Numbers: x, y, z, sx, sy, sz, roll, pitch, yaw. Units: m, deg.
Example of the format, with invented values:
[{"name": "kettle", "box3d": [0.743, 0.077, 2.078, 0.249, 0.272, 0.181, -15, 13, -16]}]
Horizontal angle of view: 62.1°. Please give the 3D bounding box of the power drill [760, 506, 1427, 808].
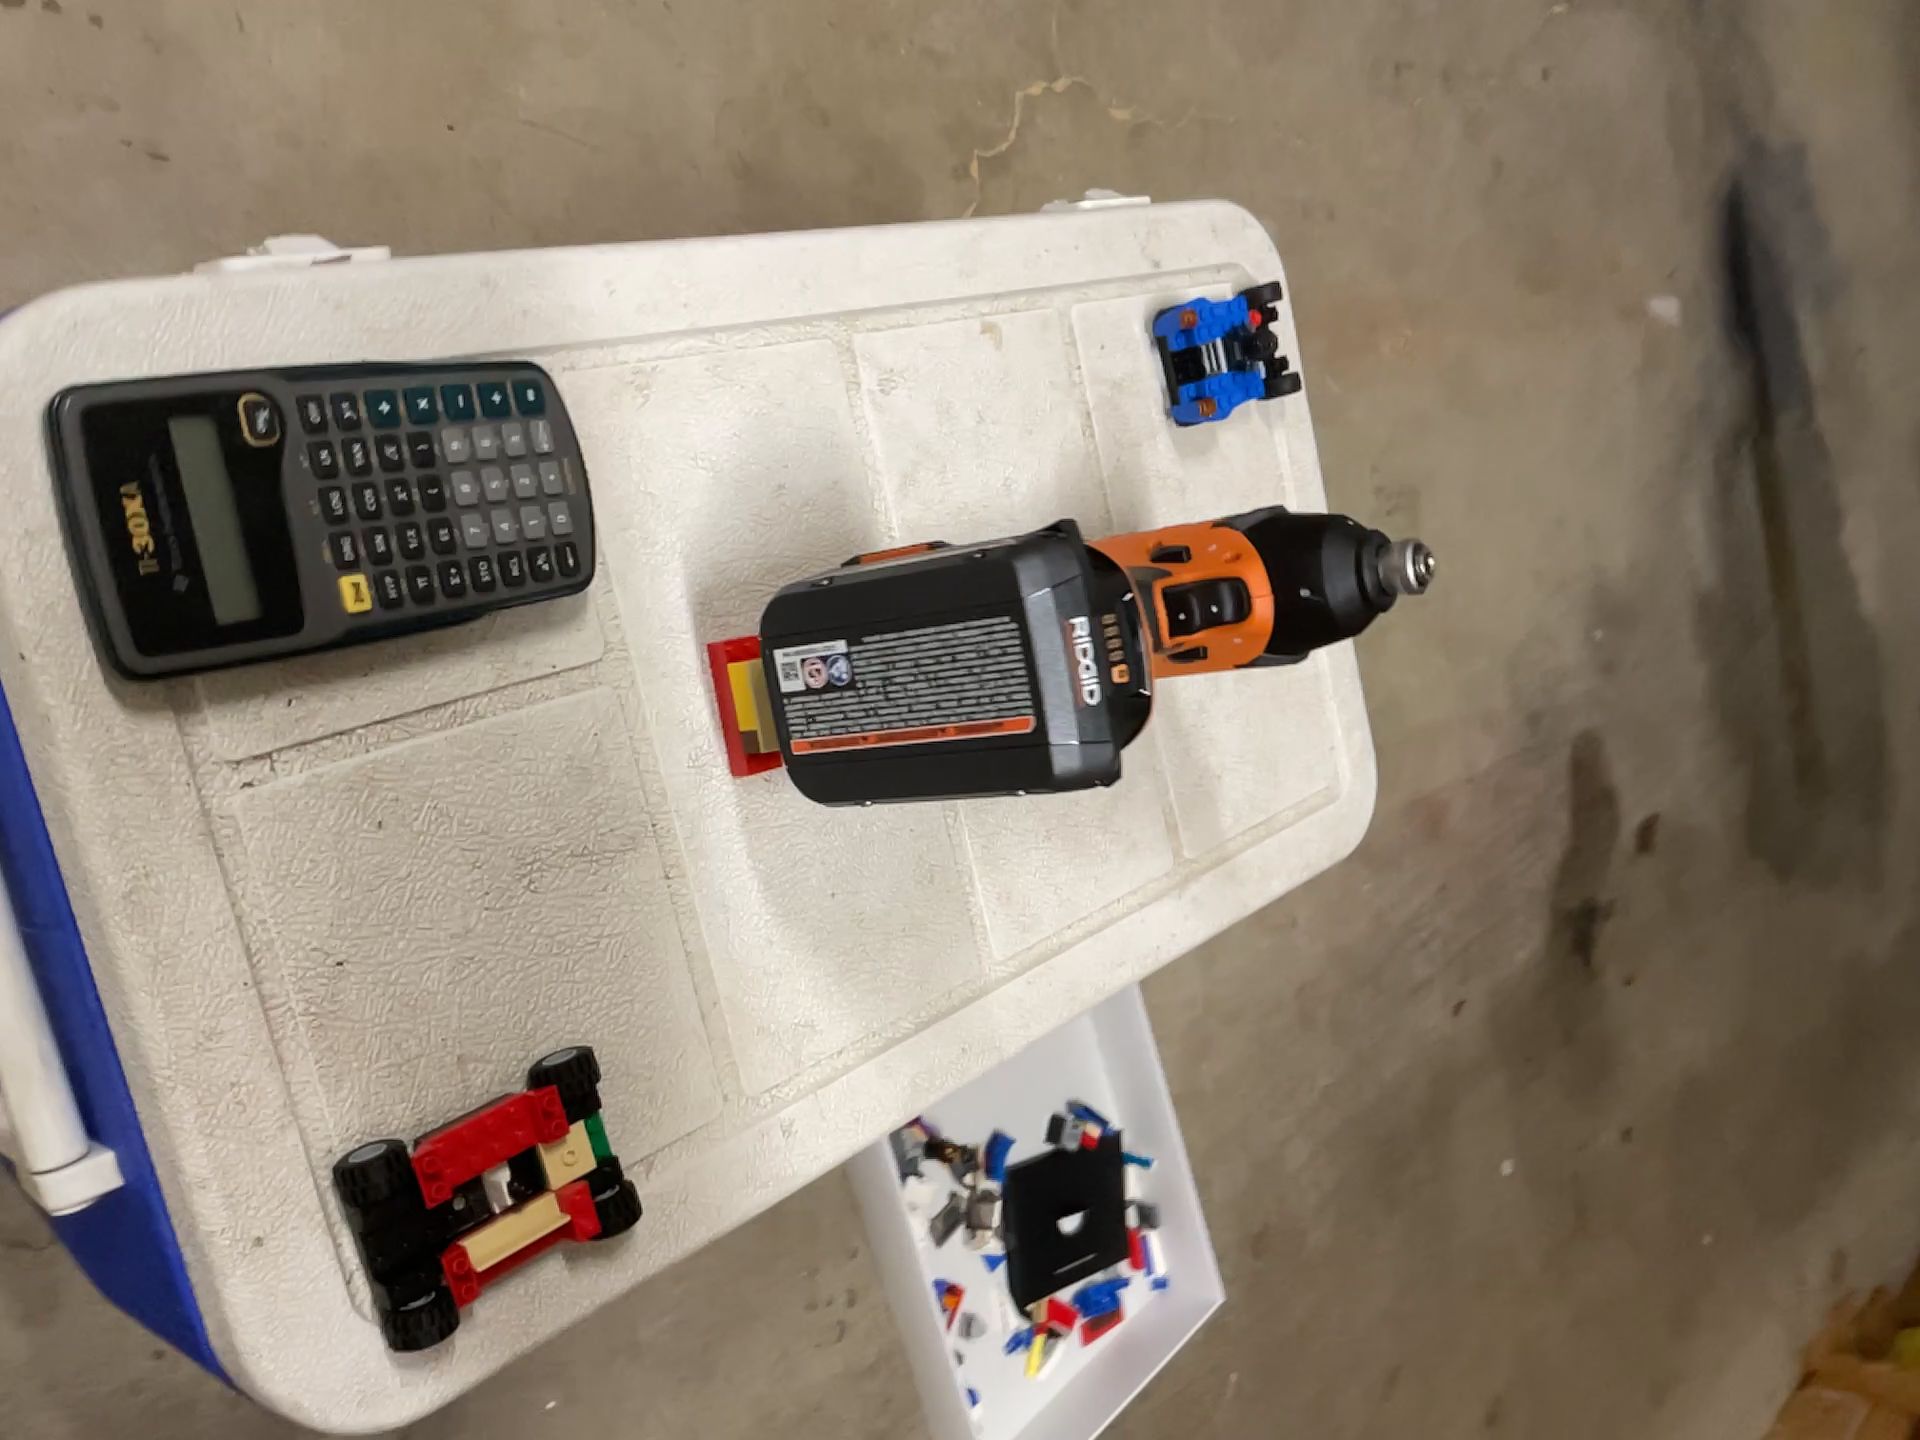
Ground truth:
[{"name": "power drill", "box3d": [0.058, -0.034, 0.569, 0.227, 0.164, 0.084, -20, 101, -54]}]
